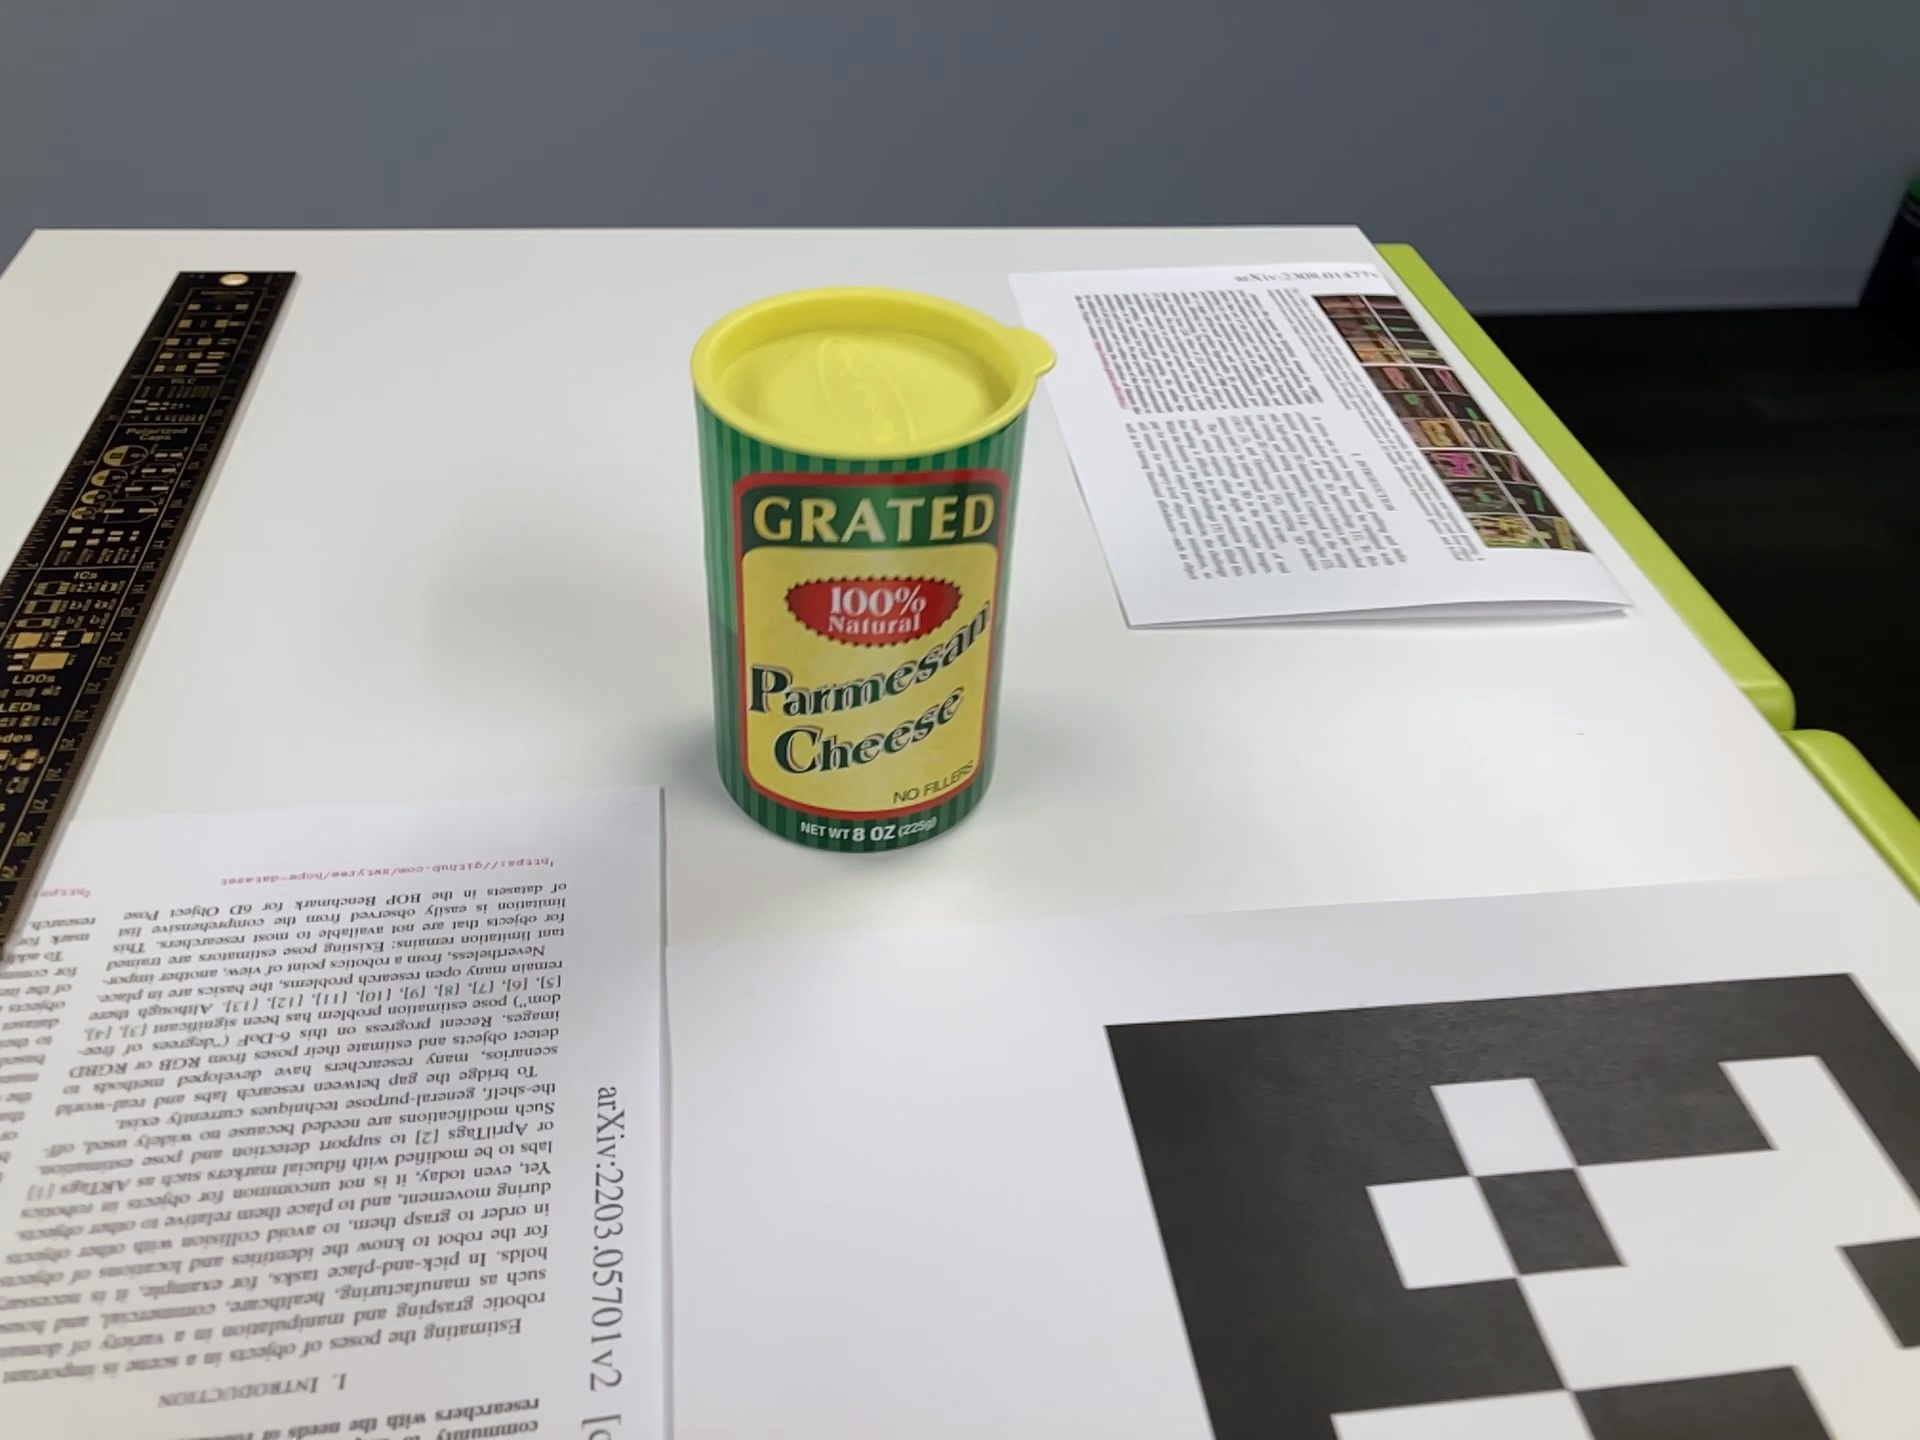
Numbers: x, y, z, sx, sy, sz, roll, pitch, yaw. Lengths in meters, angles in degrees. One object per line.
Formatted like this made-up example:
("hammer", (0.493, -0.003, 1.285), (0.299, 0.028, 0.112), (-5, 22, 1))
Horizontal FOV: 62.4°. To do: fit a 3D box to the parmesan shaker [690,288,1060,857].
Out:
("parmesan shaker", (-0.018, -0.029, 0.336), (0.071, 0.103, 0.071), (2, 40, -2))
